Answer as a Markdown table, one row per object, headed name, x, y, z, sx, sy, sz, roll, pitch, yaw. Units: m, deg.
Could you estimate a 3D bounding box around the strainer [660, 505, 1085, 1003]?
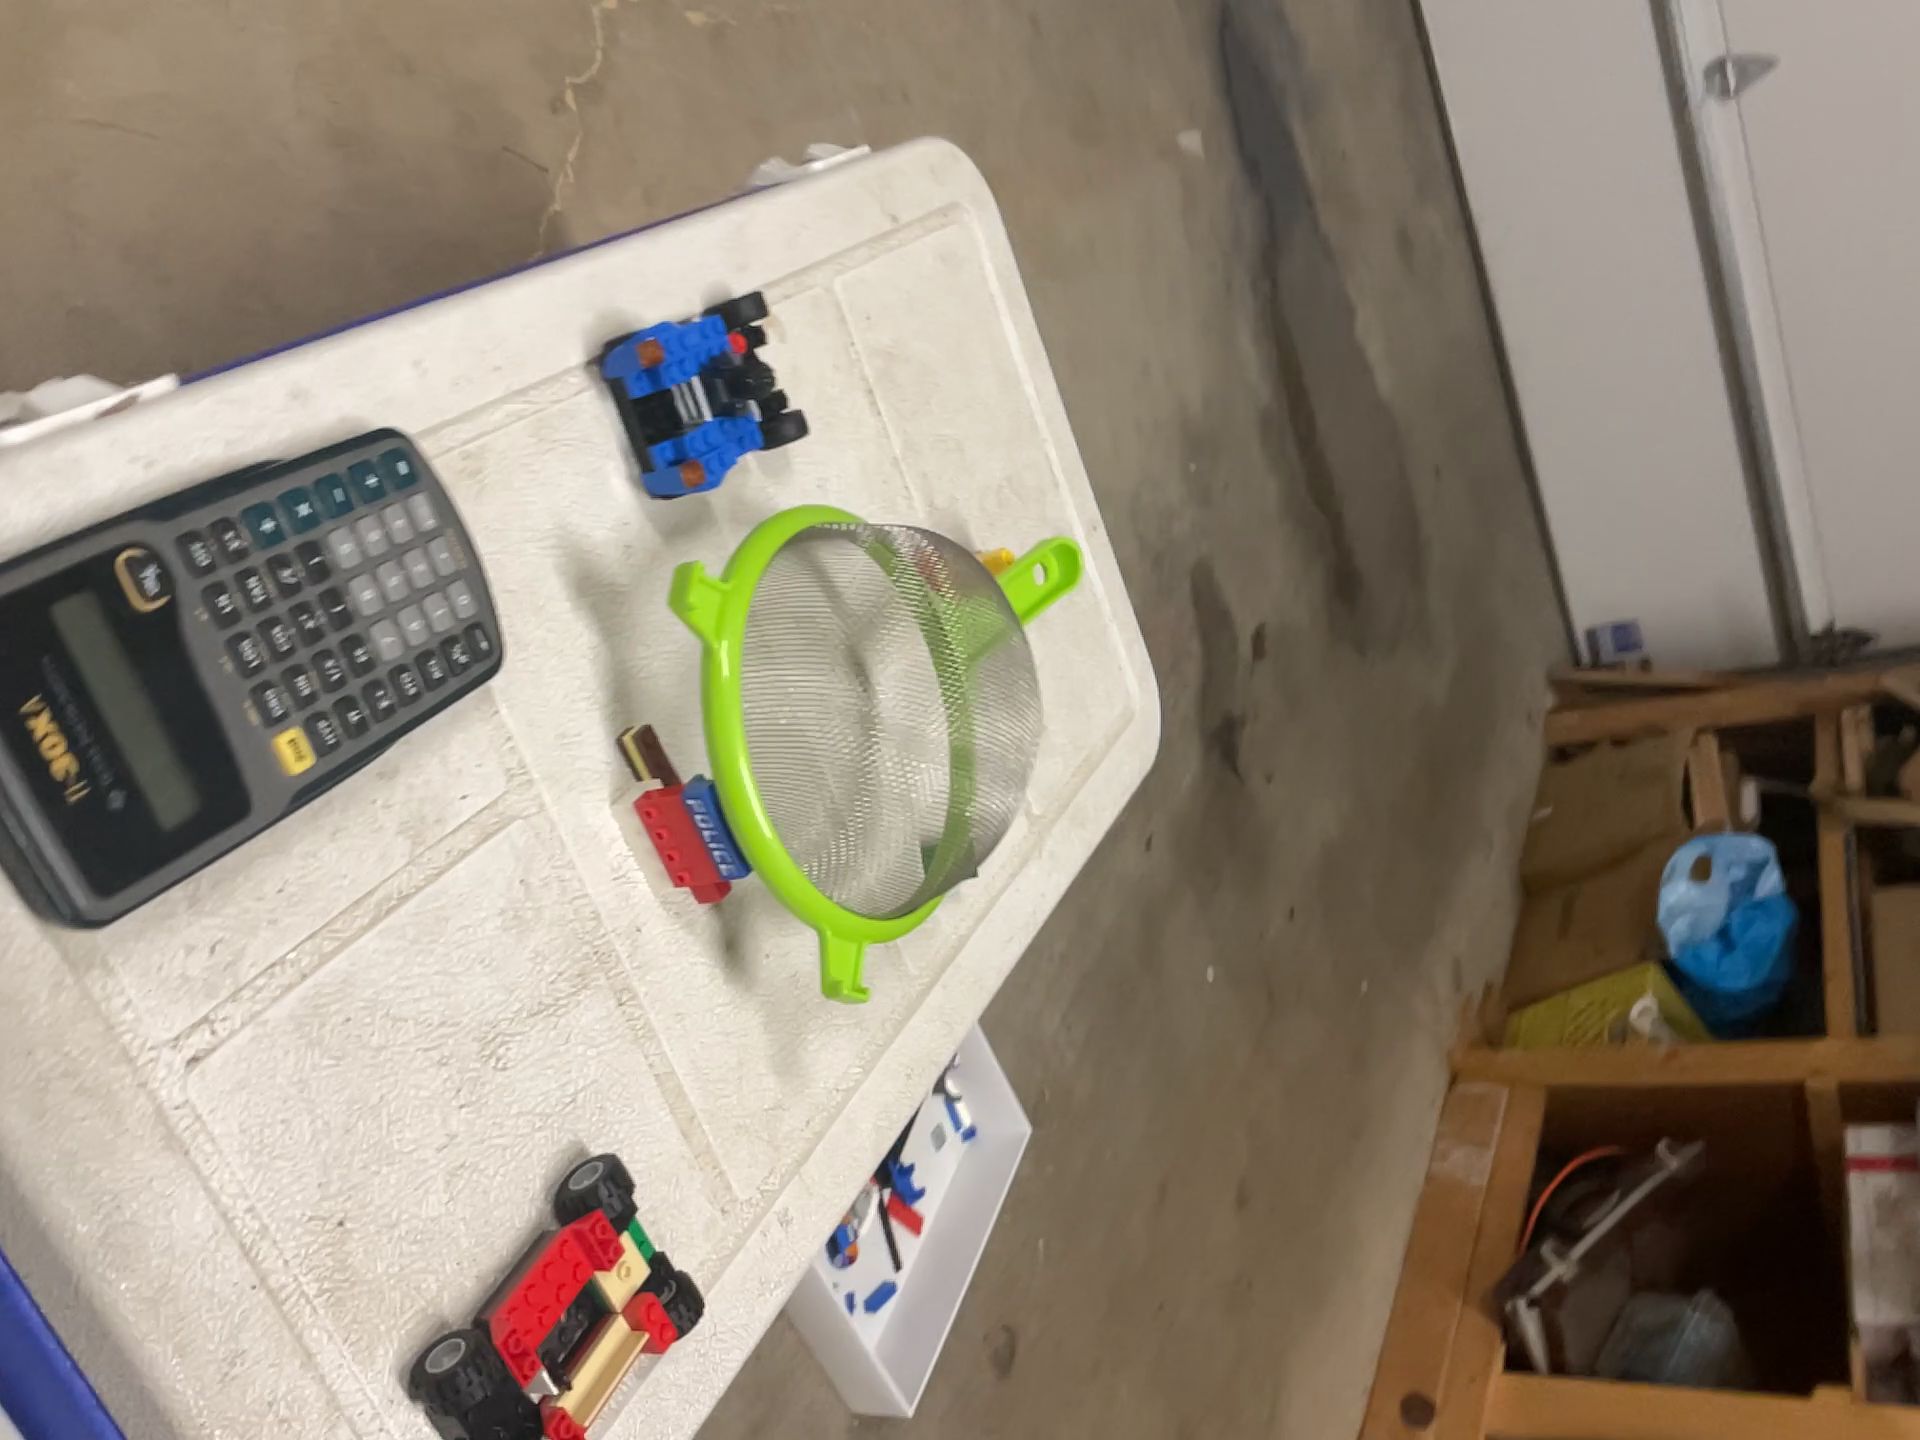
| name | x | y | z | sx | sy | sz | roll | pitch | yaw |
| --- | --- | --- | --- | --- | --- | --- | --- | --- | --- |
| strainer | 0.009 | -0.025 | 0.575 | 0.257 | 0.069 | 0.151 | -41 | 115 | -53 |
